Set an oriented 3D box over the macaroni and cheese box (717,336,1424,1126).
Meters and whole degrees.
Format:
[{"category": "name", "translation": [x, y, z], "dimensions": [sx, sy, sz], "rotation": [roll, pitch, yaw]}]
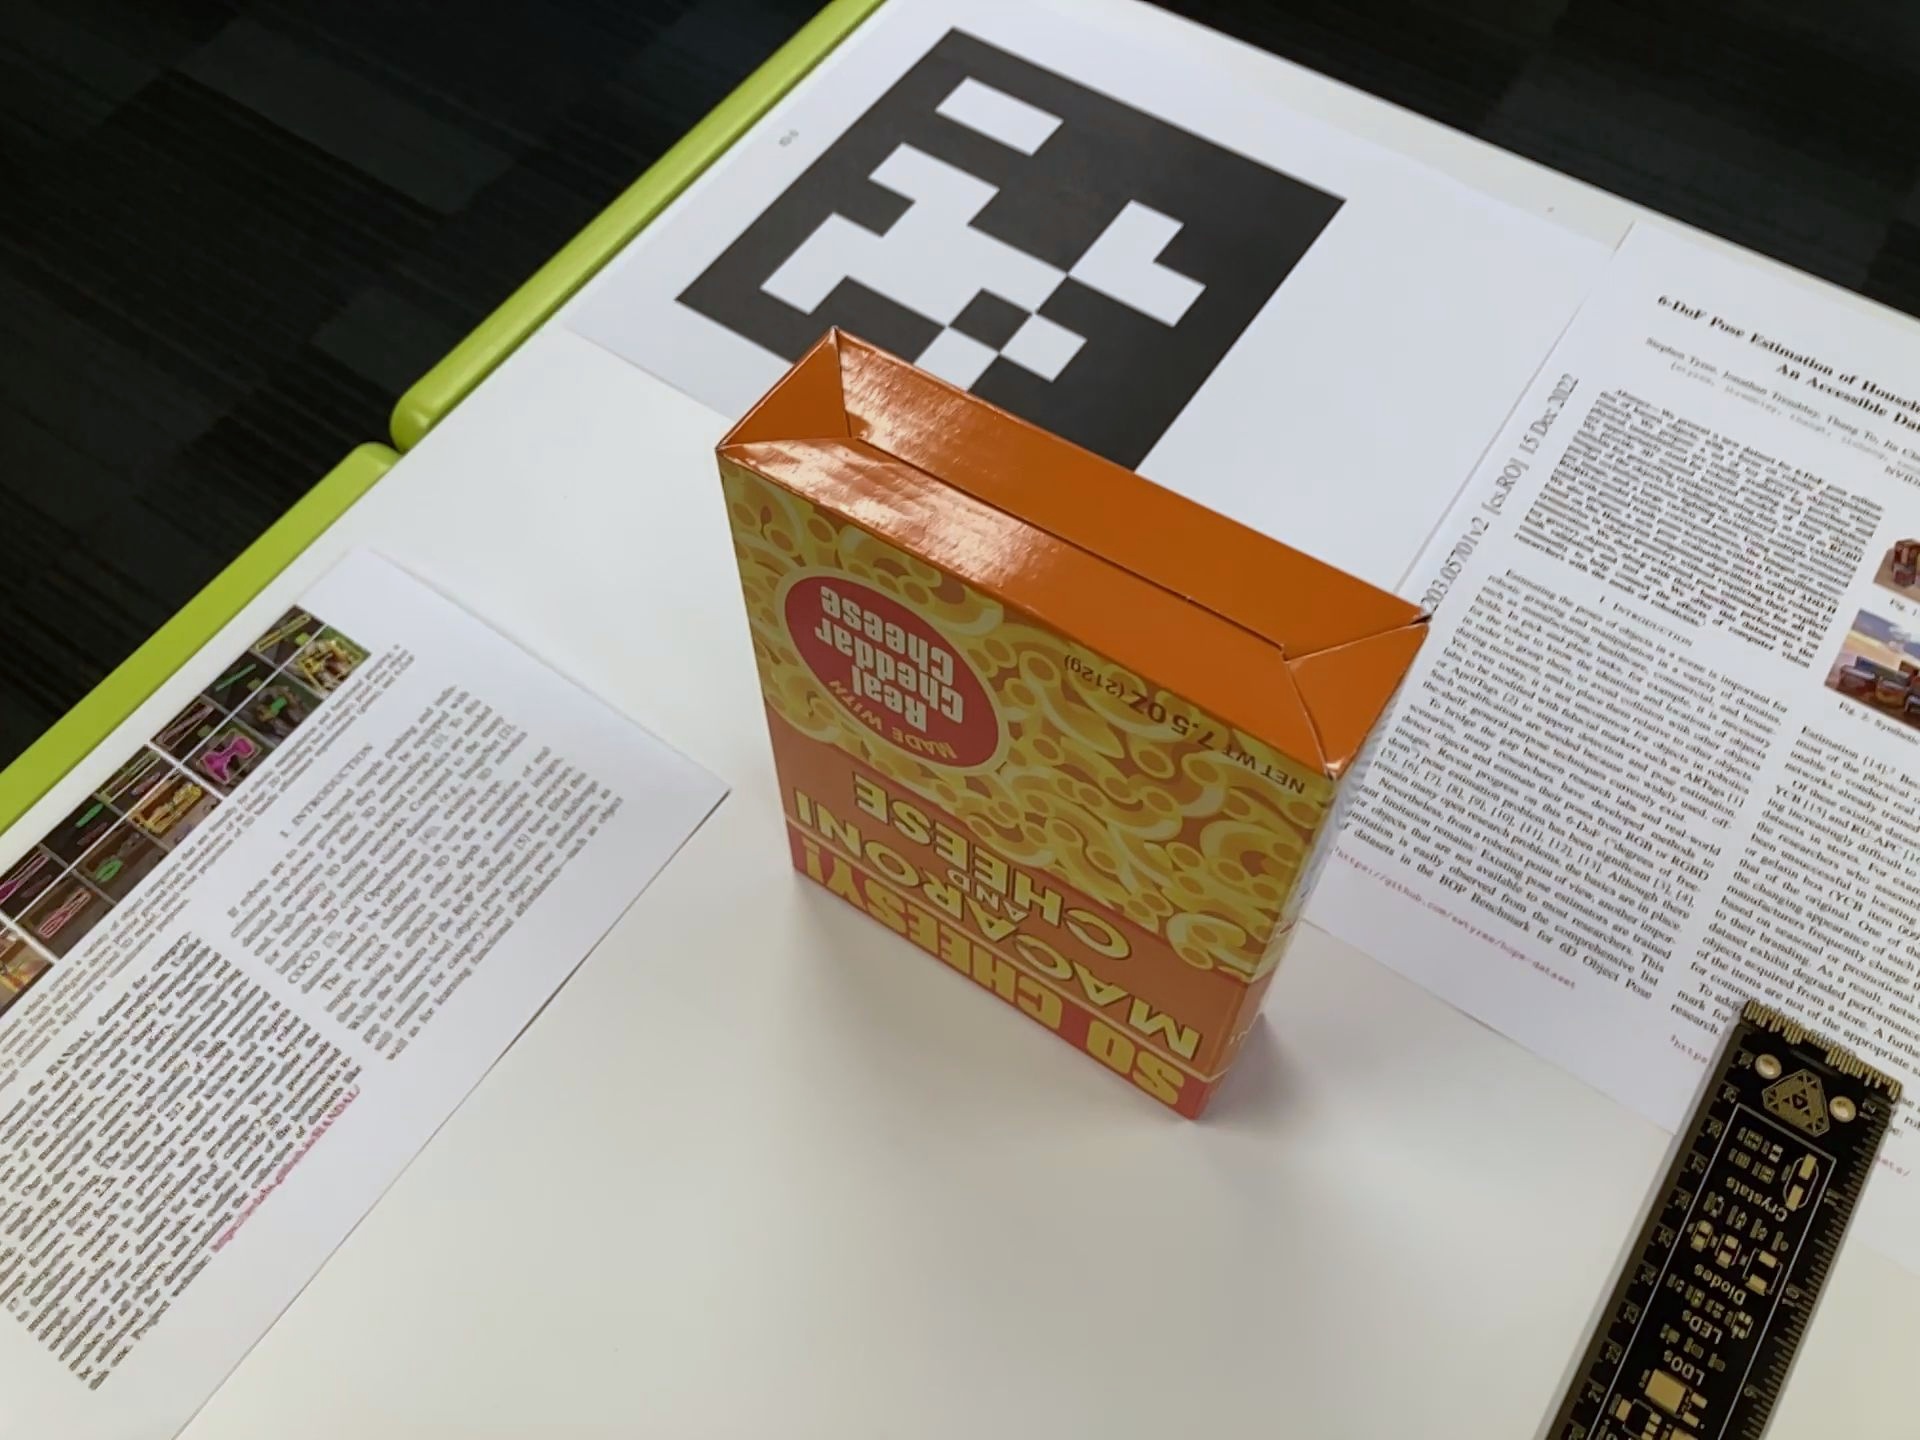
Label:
[{"category": "macaroni and cheese box", "translation": [0.017, 0.013, 0.342], "dimensions": [0.124, 0.166, 0.040], "rotation": [30, 62, 18]}]
